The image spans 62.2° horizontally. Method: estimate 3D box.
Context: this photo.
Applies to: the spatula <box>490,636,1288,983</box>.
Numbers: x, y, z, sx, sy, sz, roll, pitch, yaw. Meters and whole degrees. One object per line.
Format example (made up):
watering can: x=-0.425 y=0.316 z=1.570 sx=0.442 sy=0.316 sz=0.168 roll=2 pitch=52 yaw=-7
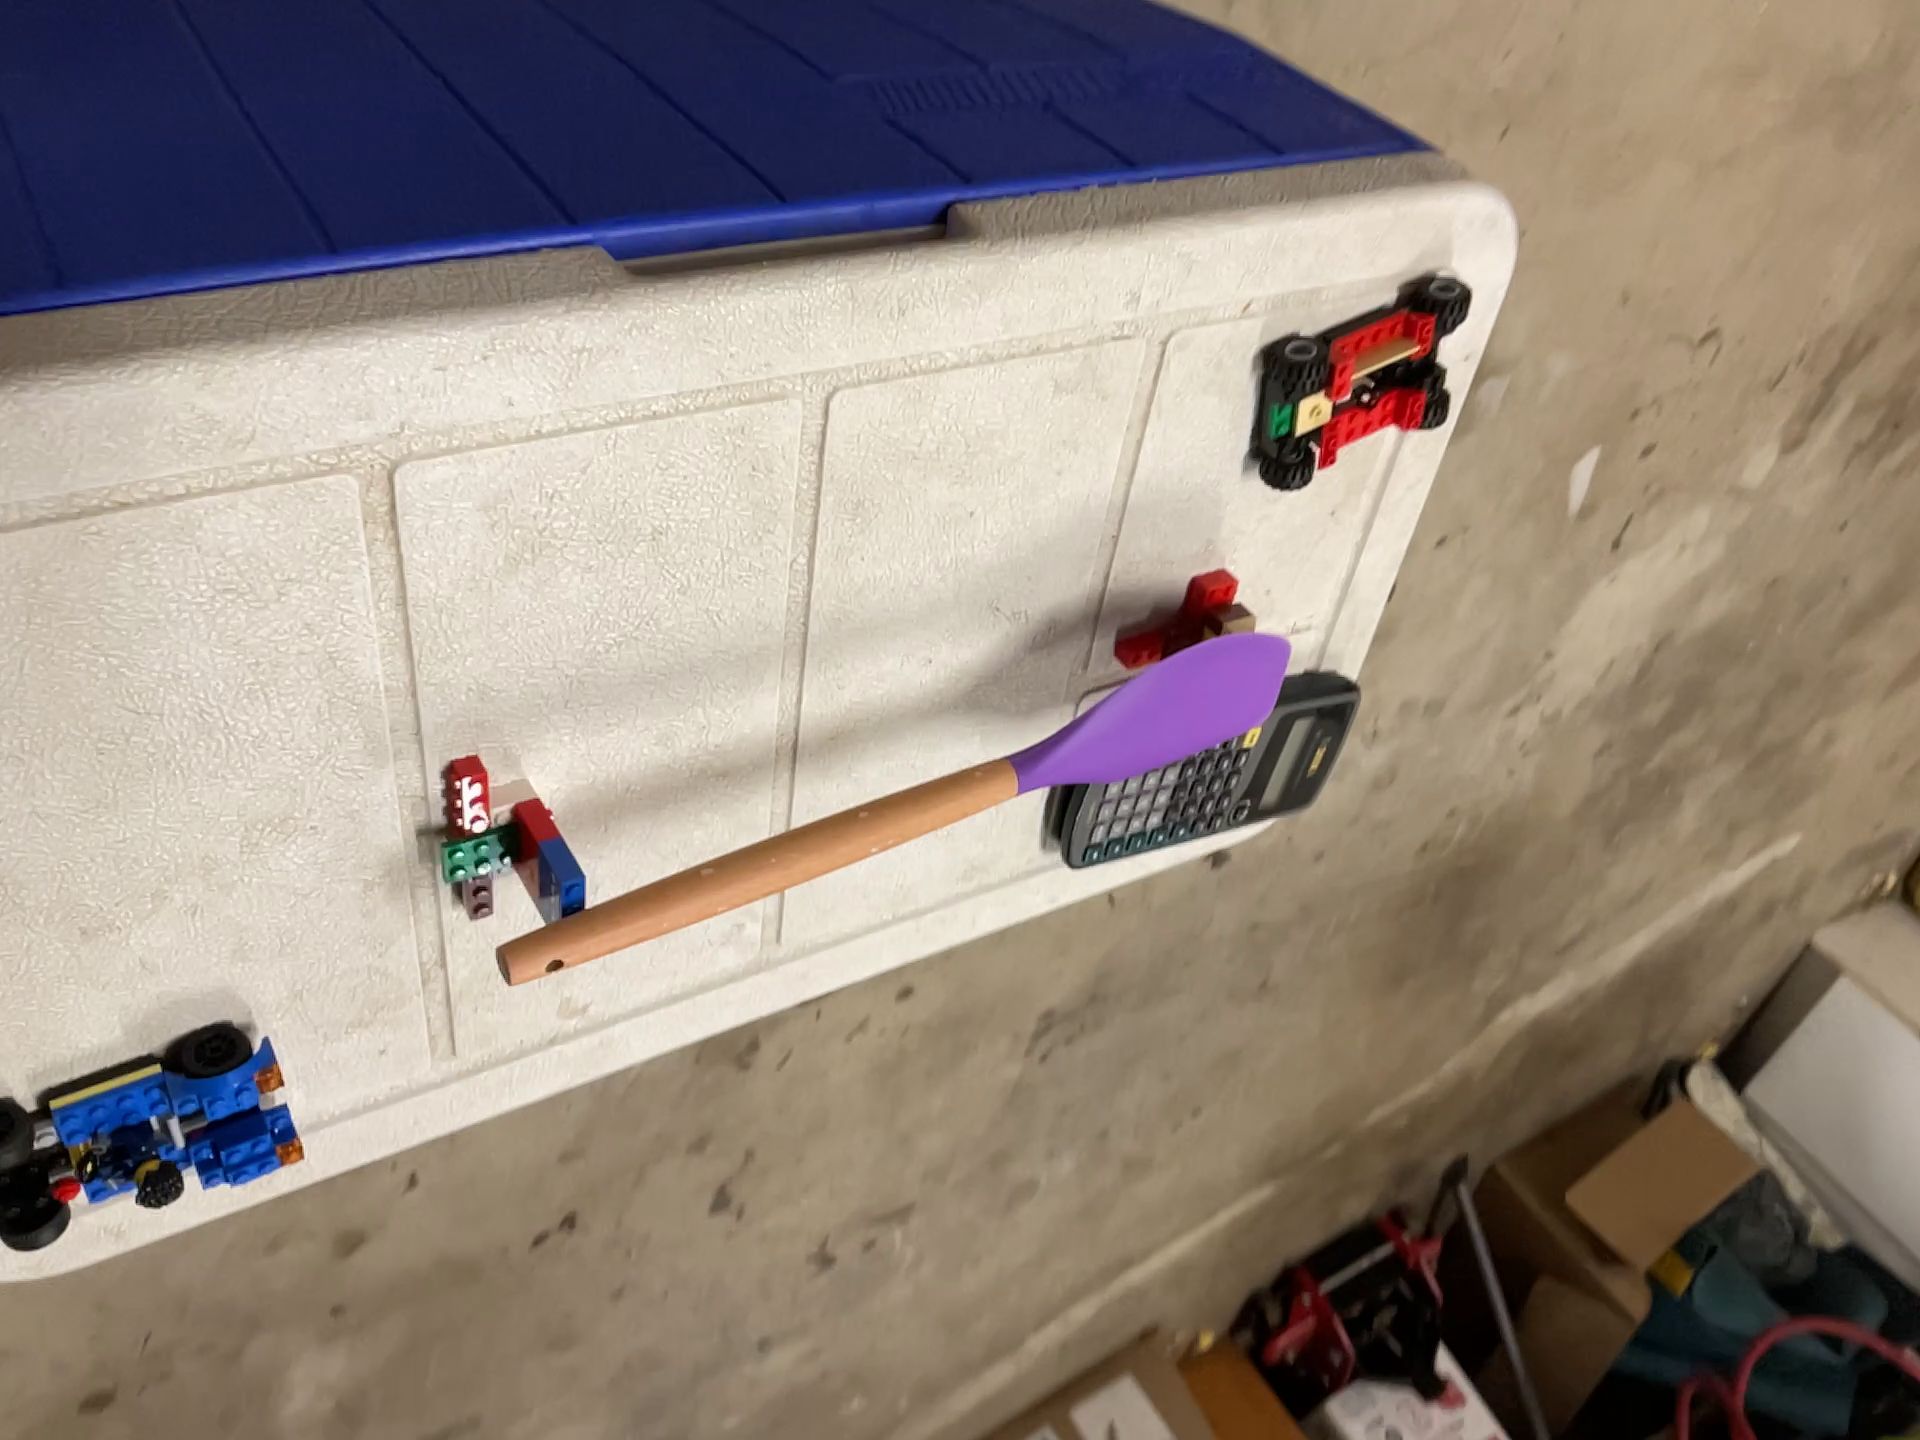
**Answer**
spatula: x=-0.006 y=0.026 z=0.548 sx=0.316 sy=0.018 sz=0.059 roll=-19 pitch=139 yaw=-28
